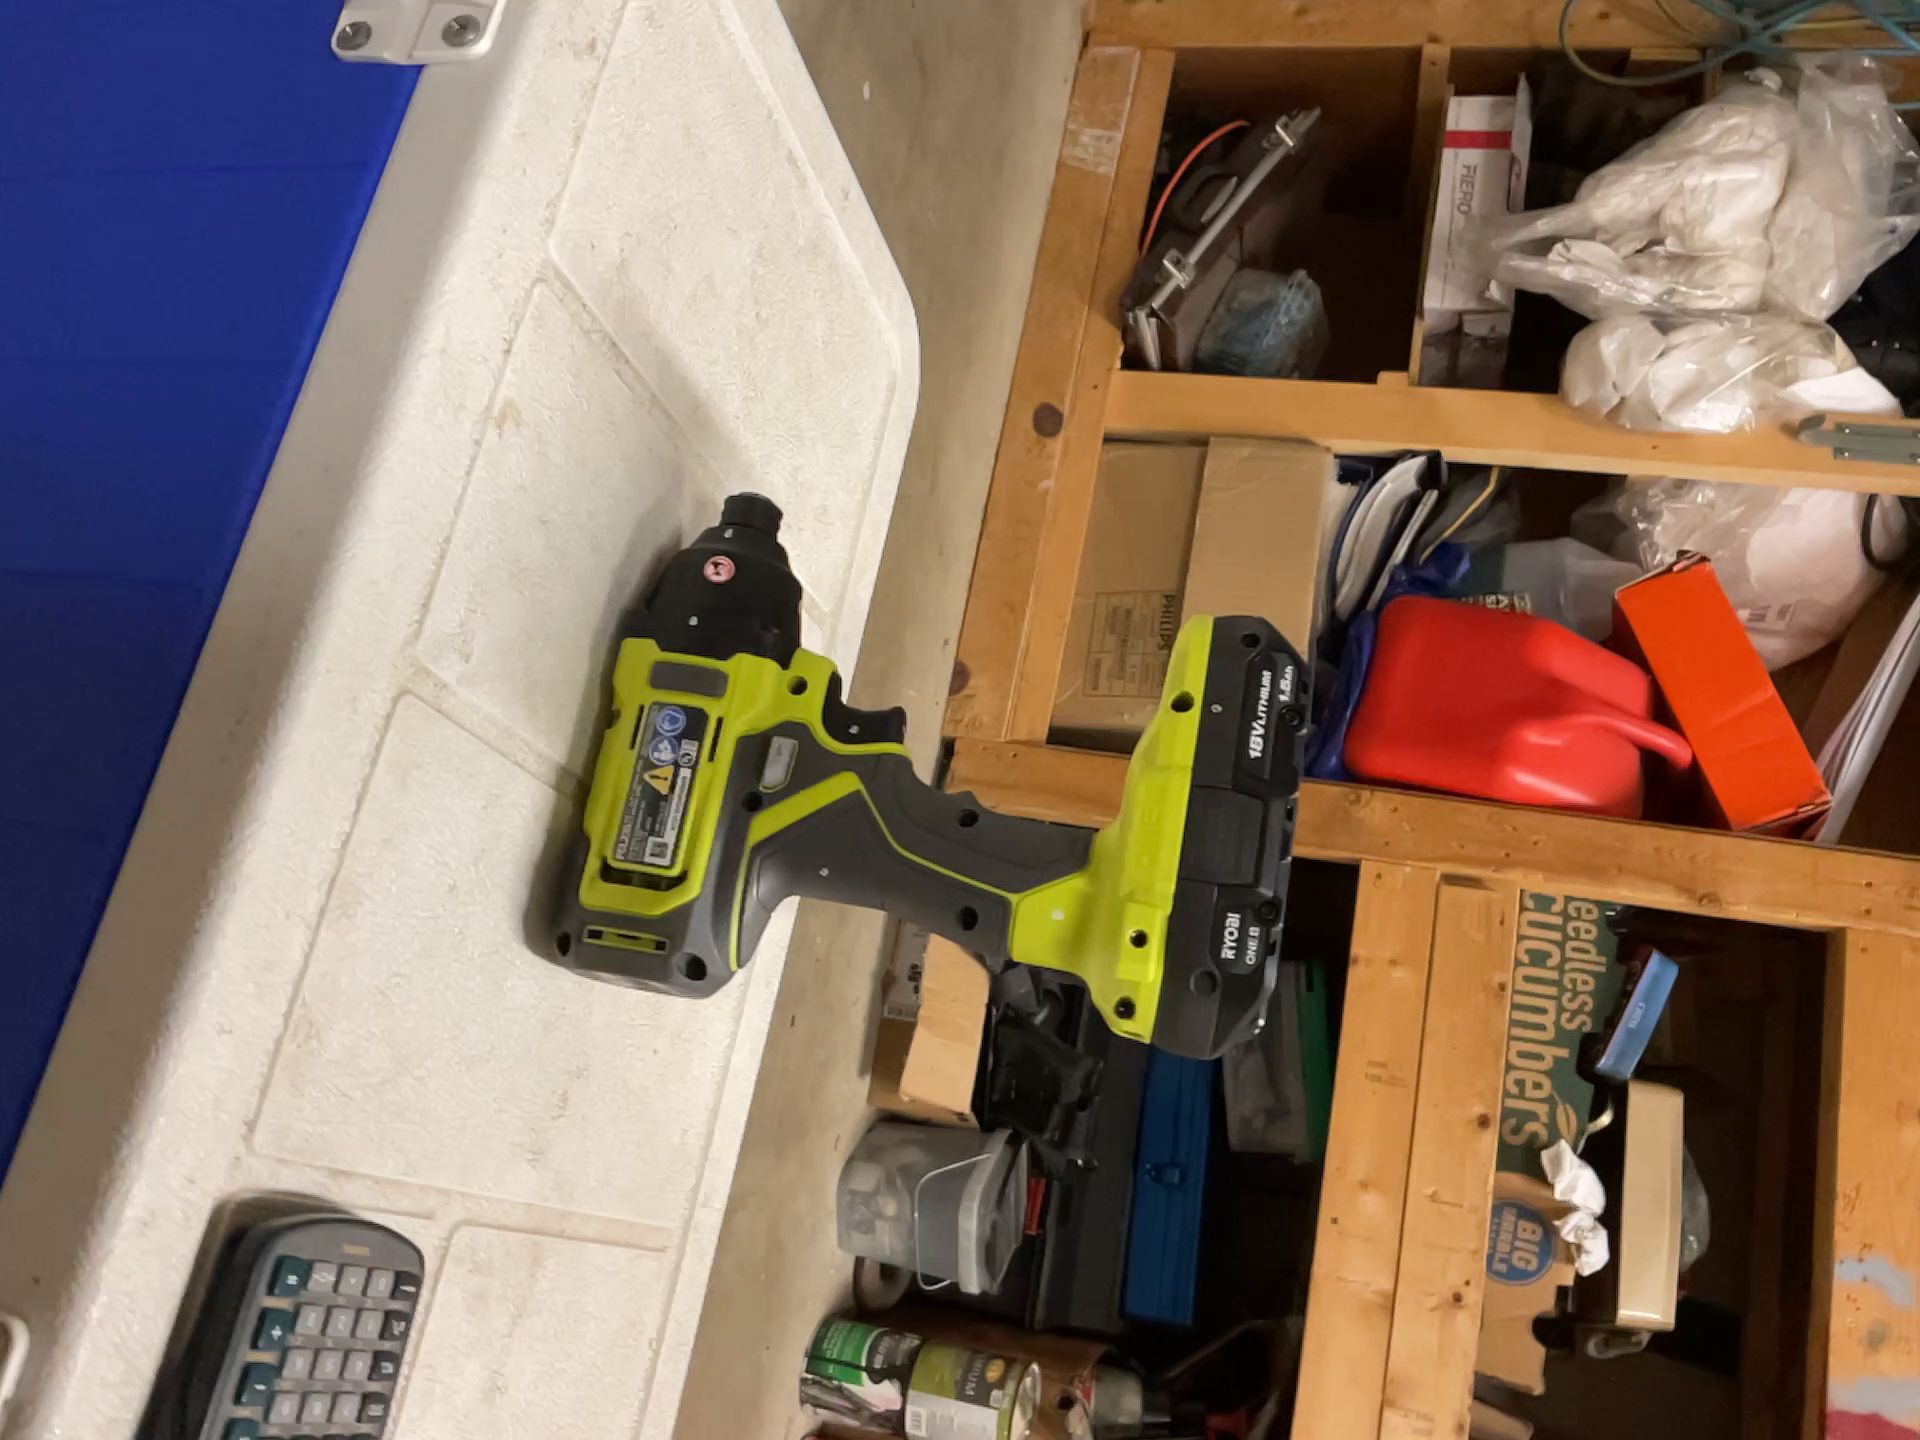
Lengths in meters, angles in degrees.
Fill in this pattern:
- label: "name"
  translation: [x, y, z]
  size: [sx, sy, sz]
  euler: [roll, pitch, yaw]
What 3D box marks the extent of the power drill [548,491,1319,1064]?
- label: "power drill"
  translation: [-0.005, 0.017, 0.516]
  size: [0.080, 0.223, 0.171]
  euler: [75, 25, -72]
